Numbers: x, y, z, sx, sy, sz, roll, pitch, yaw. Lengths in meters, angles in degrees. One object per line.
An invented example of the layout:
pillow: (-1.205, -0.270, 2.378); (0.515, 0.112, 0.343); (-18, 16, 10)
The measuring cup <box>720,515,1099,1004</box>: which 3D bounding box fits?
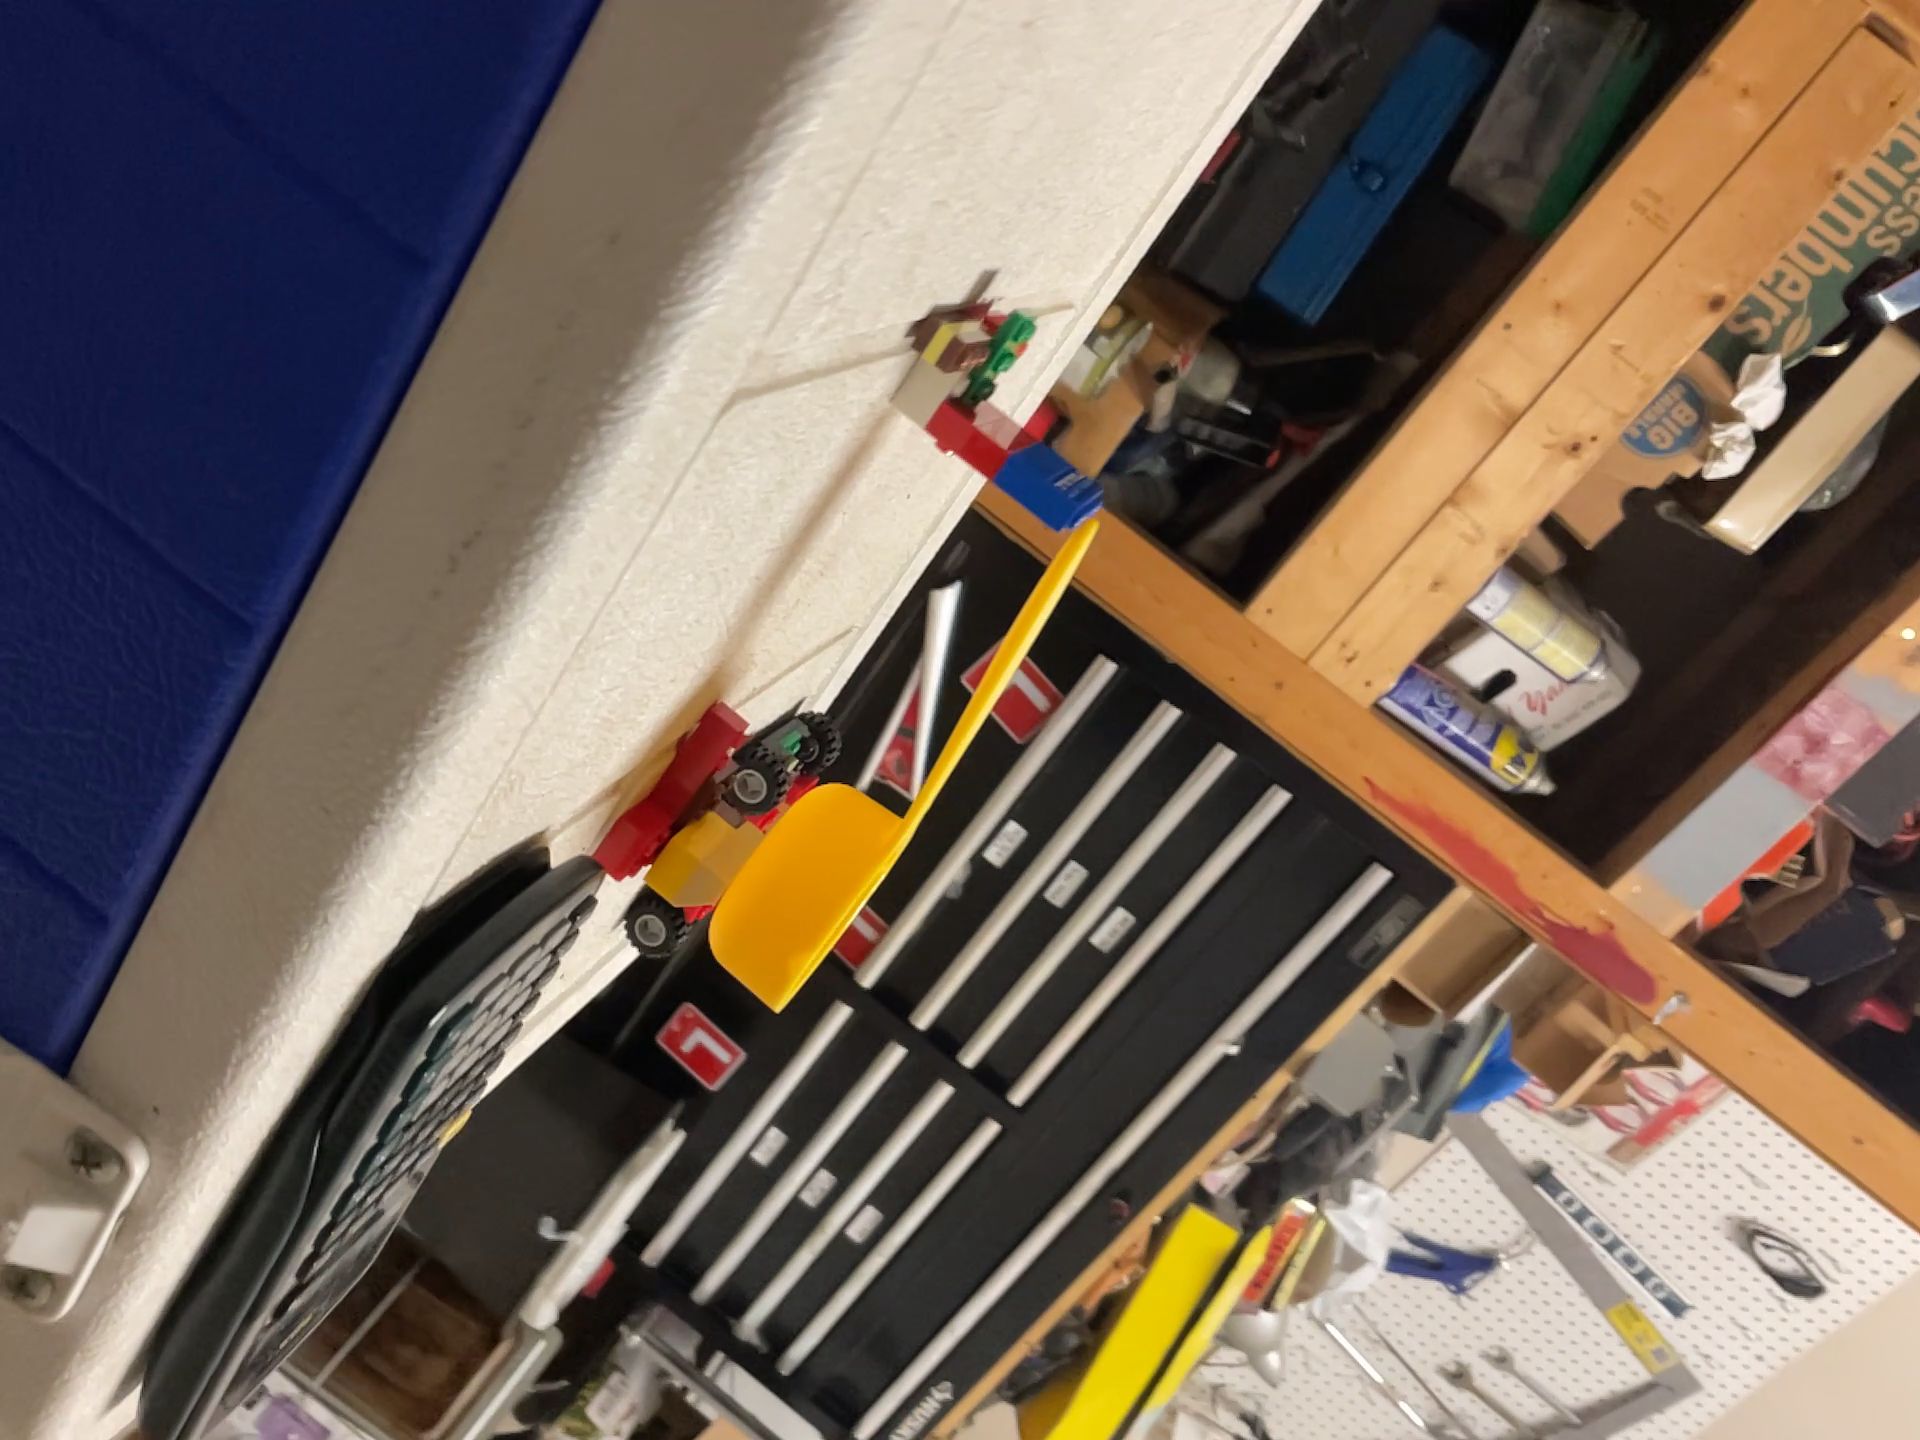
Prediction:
measuring cup: (-0.016, 0.007, 0.405); (0.156, 0.029, 0.062); (-58, 175, 24)
